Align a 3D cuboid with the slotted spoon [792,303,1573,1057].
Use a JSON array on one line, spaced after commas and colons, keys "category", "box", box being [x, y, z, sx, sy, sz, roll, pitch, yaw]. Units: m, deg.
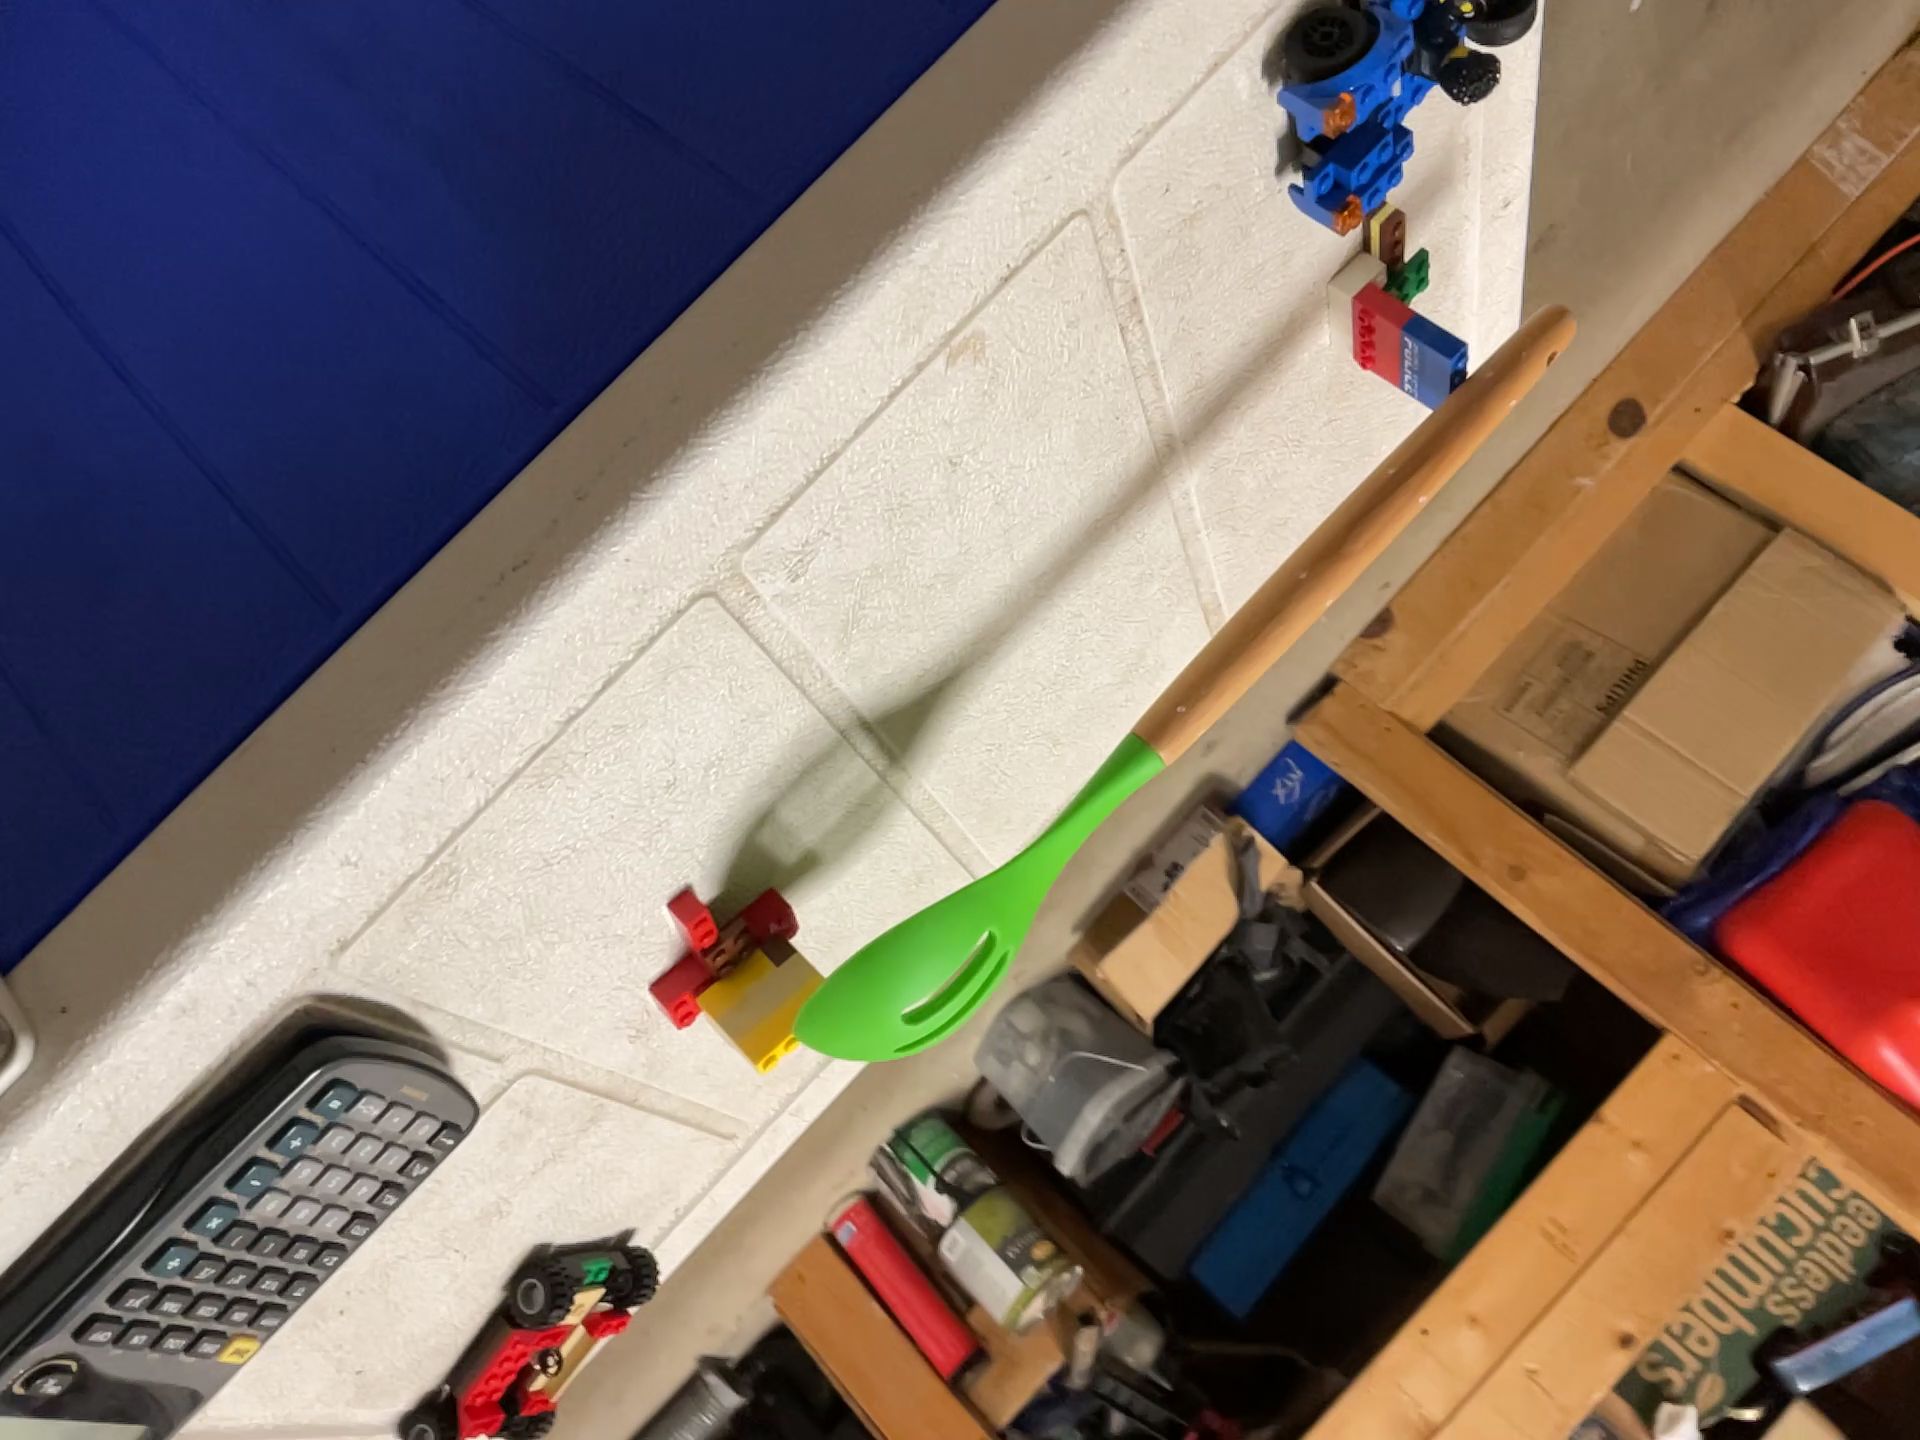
[{"category": "slotted spoon", "box": [0.073, -0.011, 0.471, 0.314, 0.031, 0.070, -46, 153, -5]}]
